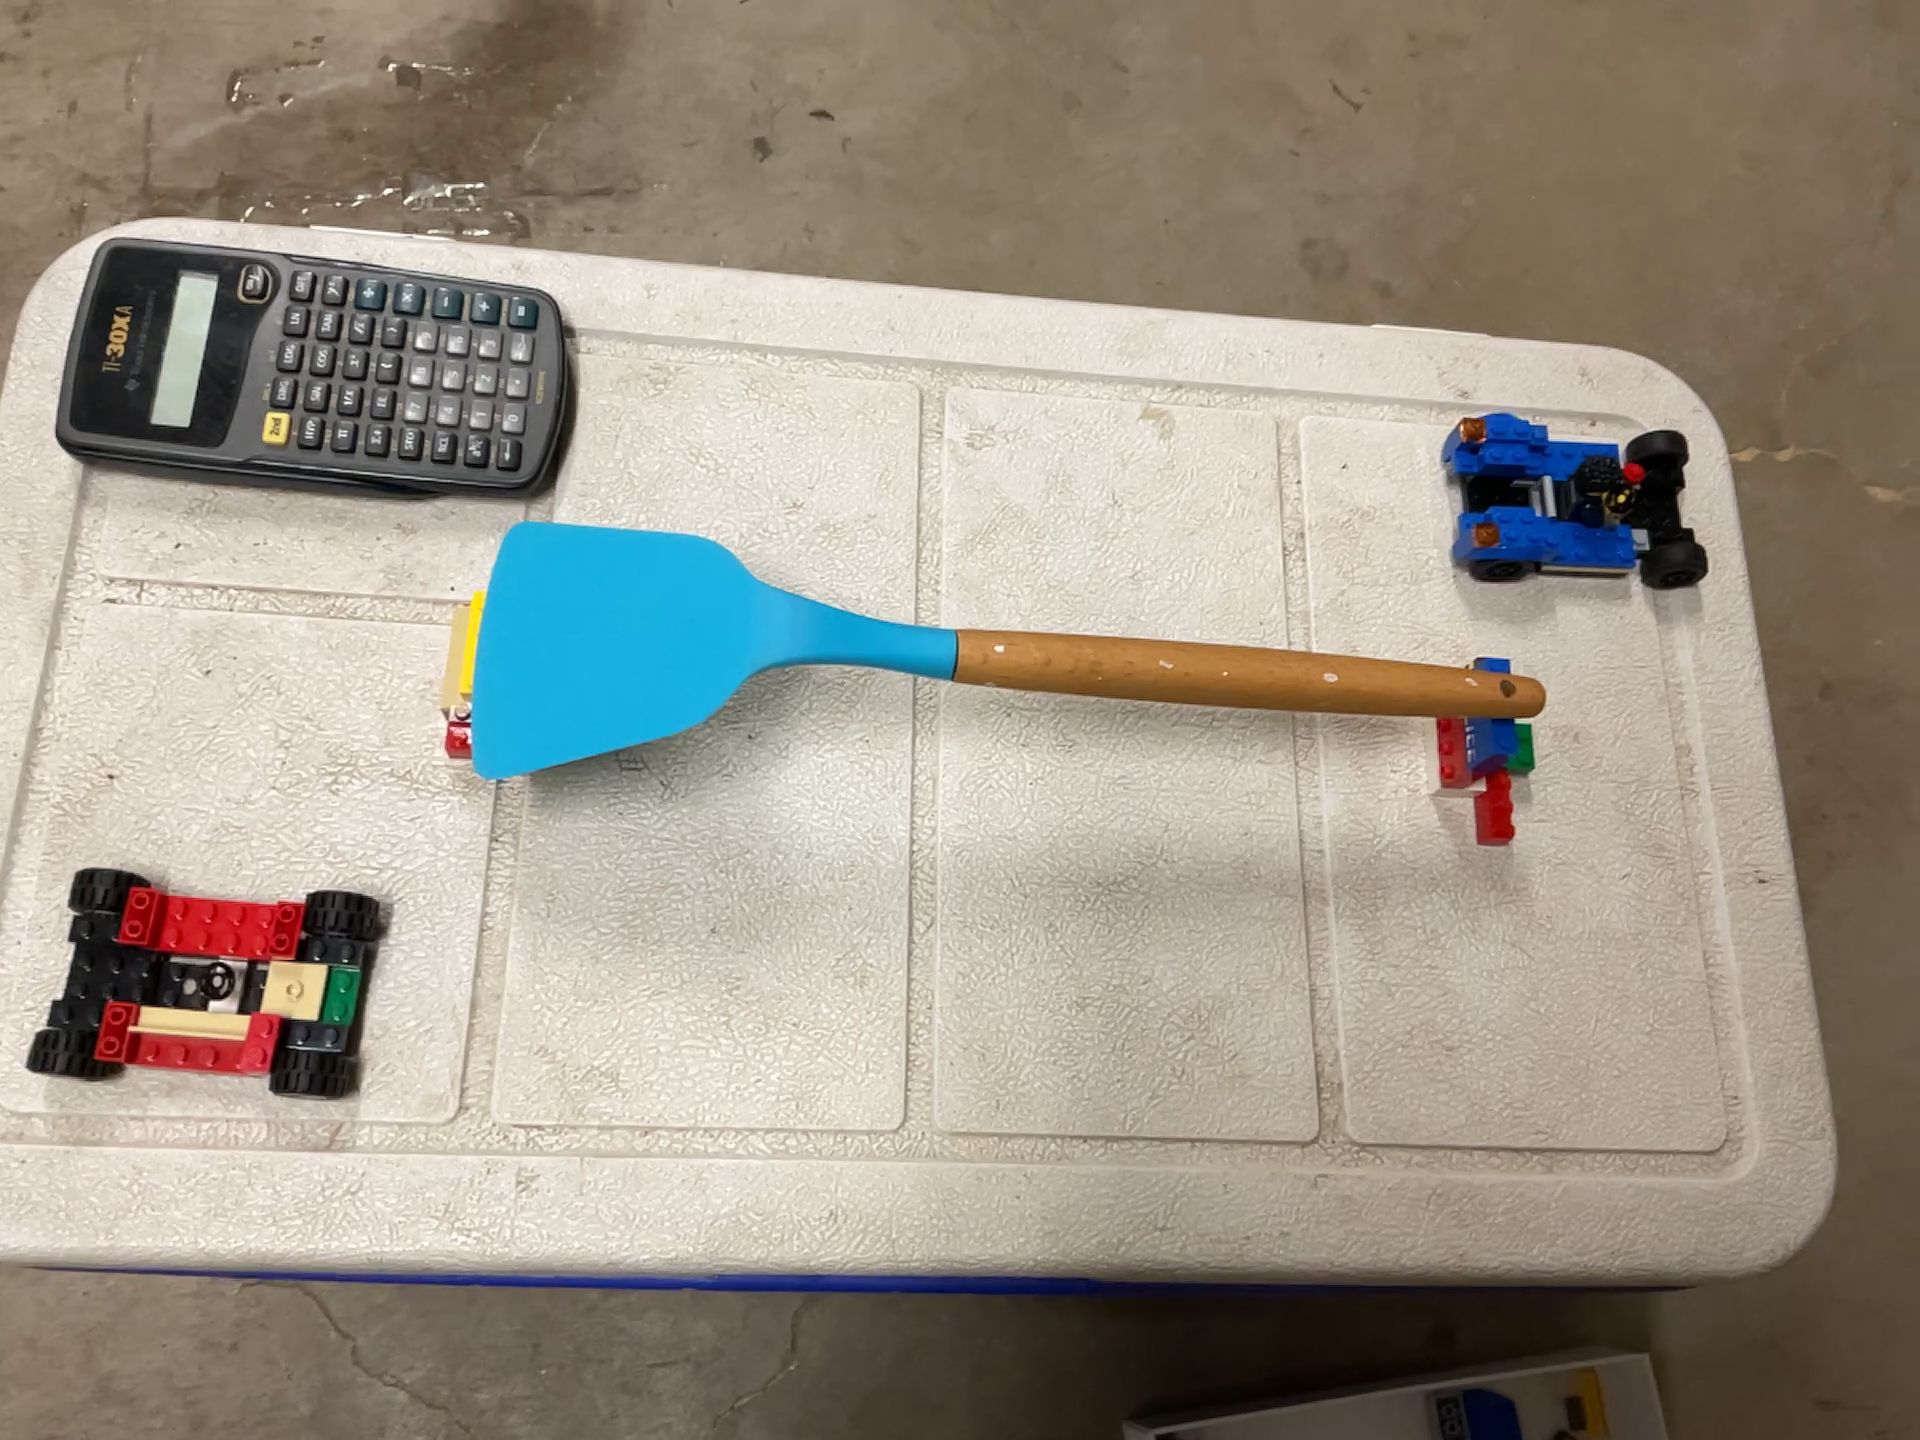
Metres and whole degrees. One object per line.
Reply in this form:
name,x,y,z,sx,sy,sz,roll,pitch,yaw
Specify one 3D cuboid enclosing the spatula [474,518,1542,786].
spatula,0.021,-0.014,0.474,0.317,0.044,0.082,5,70,-11
